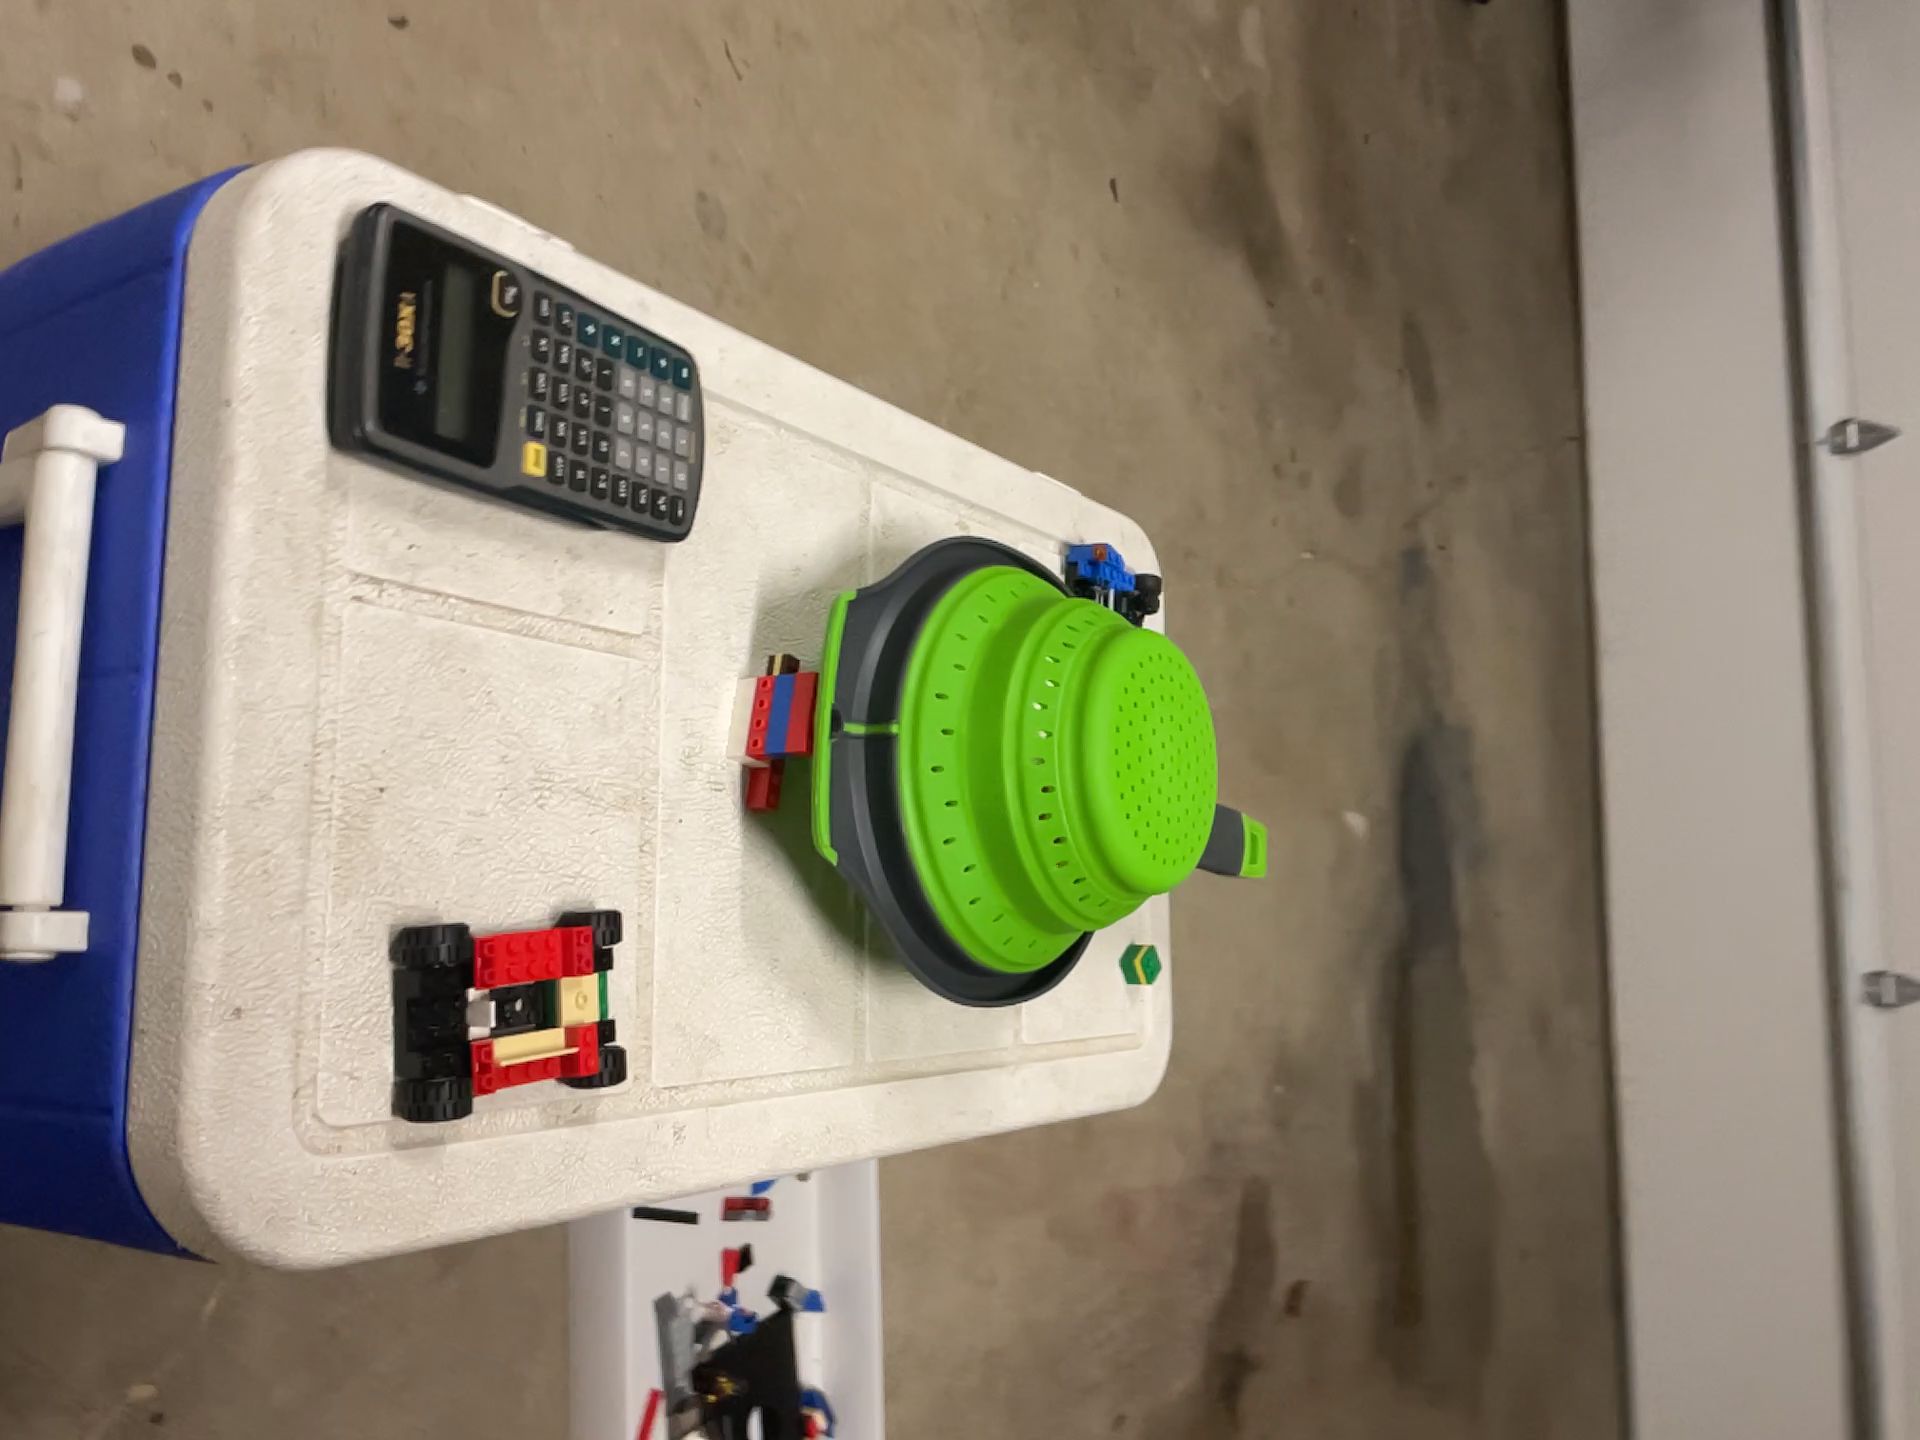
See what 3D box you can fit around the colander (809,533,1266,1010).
[{"bbox_3d":[0.090,0.034,0.733,0.396,0.094,0.205,19,70,-54],"label":"colander"}]
